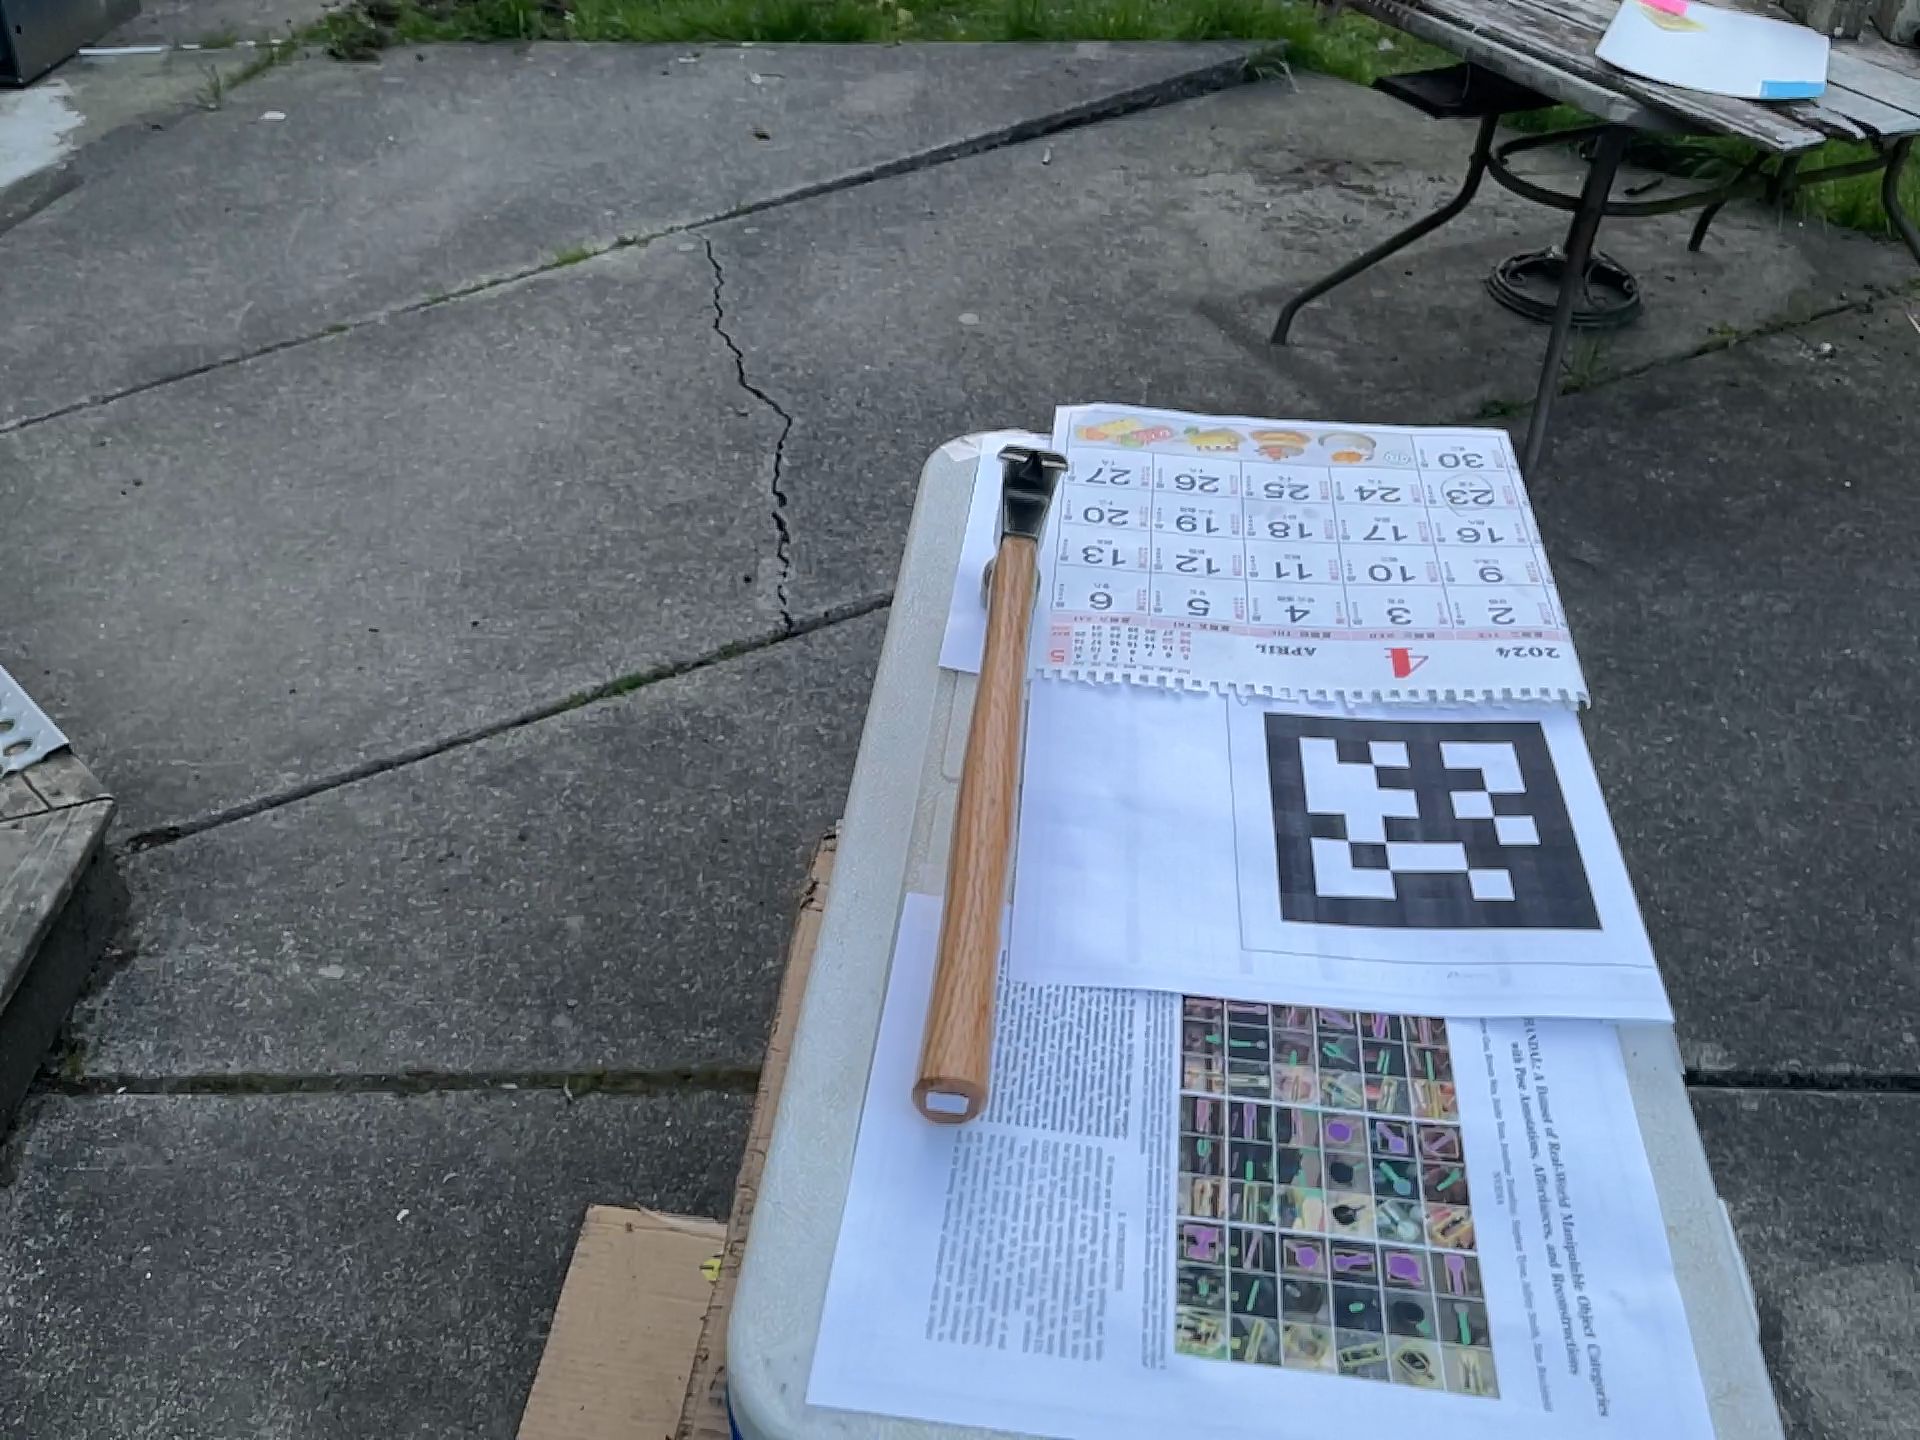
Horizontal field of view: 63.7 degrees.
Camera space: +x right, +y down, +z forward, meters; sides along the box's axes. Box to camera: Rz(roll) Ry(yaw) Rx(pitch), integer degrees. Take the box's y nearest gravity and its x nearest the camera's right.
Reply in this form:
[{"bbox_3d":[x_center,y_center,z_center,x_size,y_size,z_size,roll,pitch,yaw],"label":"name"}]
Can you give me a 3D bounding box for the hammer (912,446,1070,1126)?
[{"bbox_3d":[0.015,0.010,0.652,0.031,0.130,0.331,8,51,0],"label":"hammer"}]
